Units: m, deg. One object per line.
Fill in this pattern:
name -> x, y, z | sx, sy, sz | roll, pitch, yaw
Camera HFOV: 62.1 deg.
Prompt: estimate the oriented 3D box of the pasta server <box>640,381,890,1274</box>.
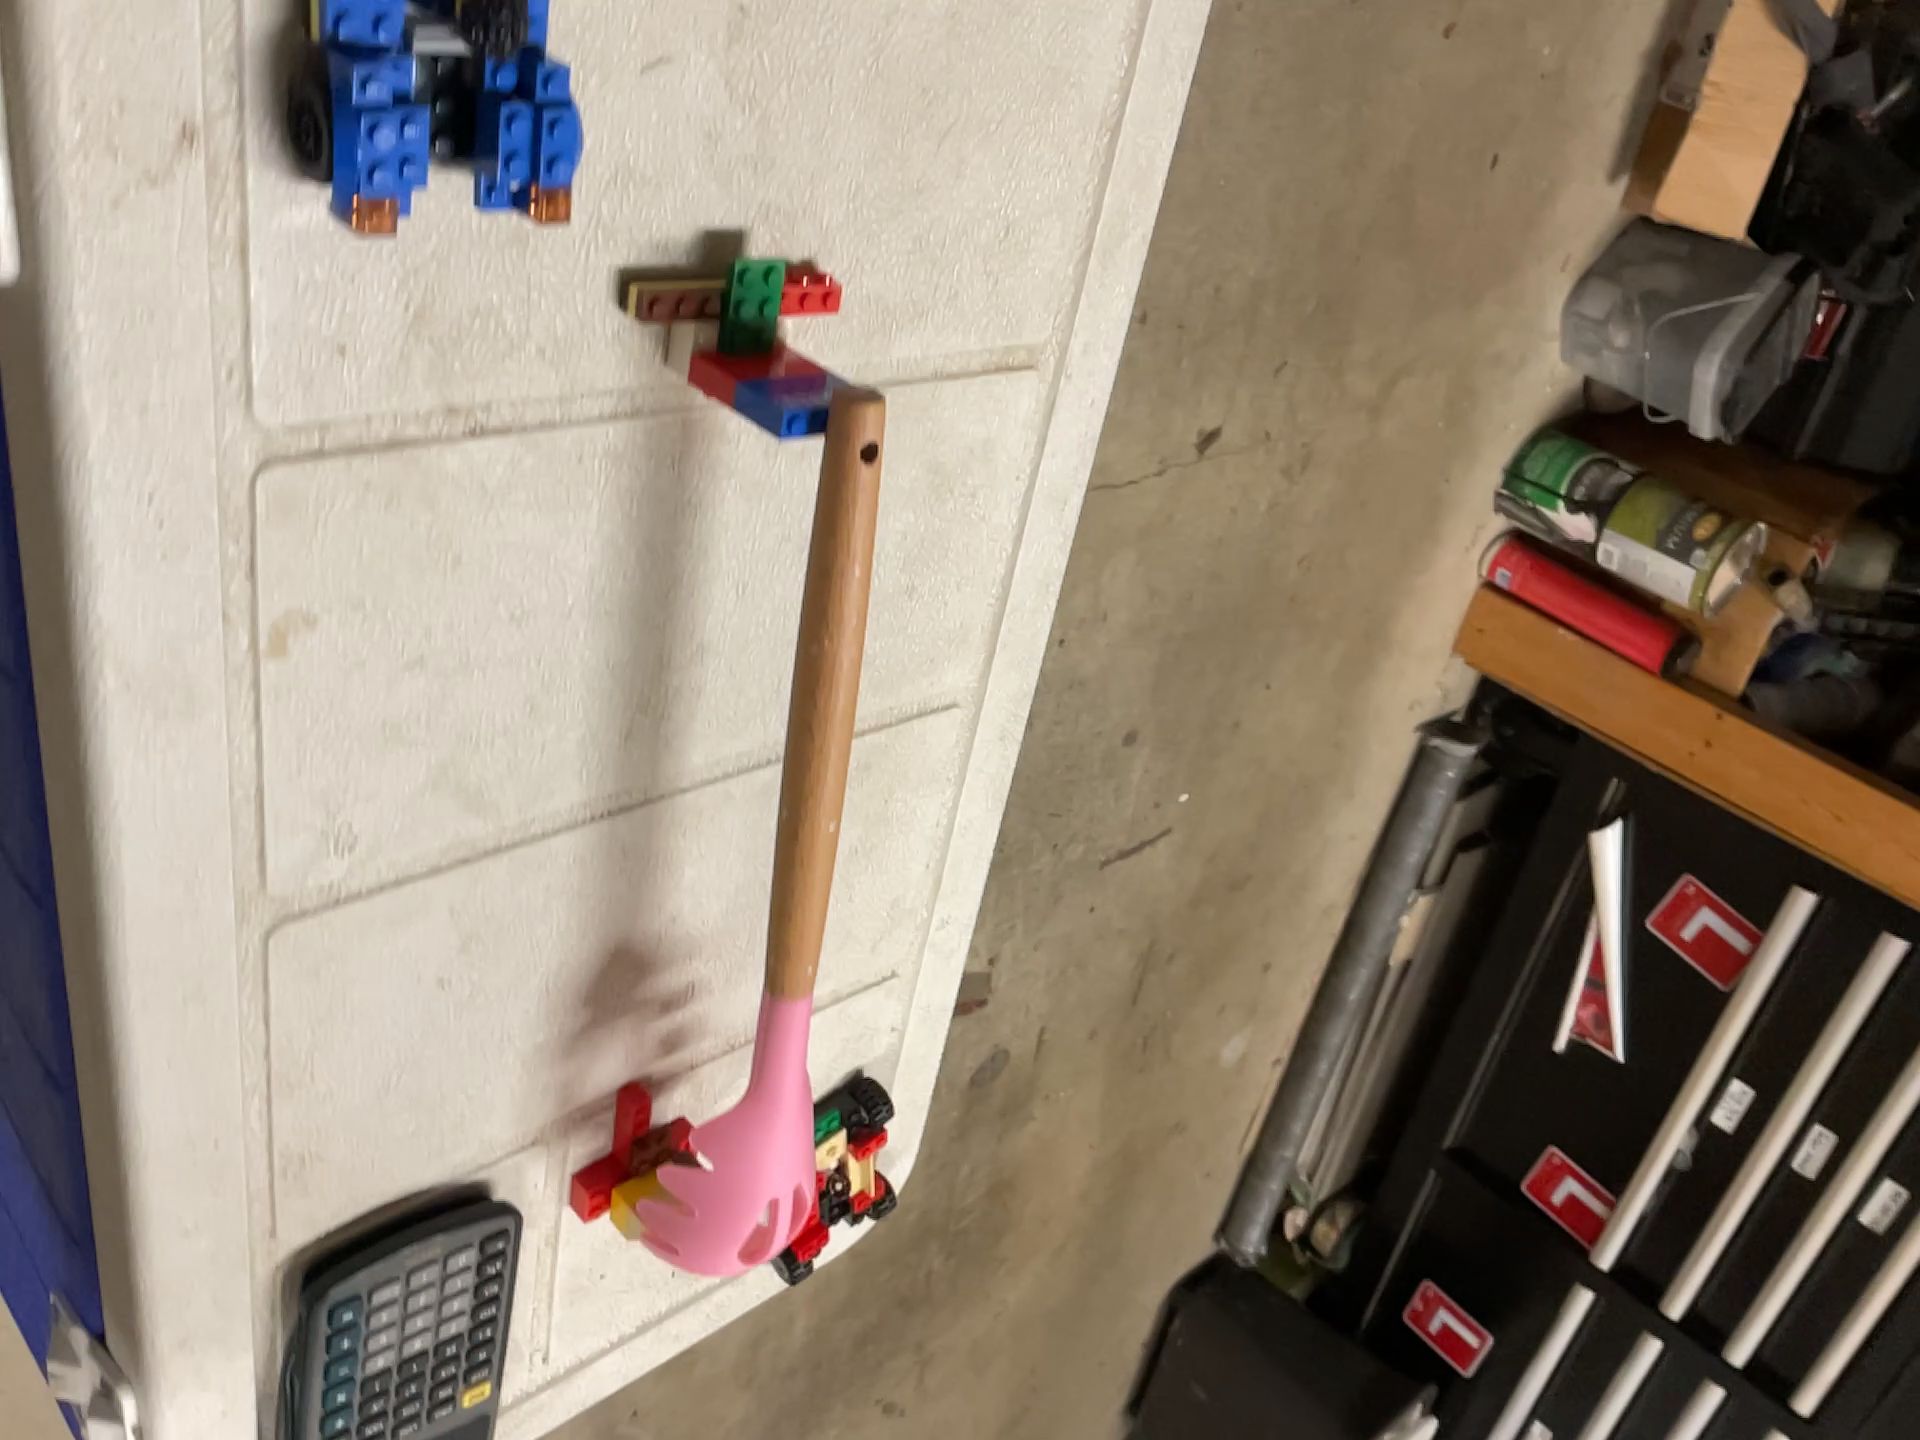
pasta server -> -0.052, 0.052, 0.467 | 0.060, 0.040, 0.316 | -18, 129, -40
